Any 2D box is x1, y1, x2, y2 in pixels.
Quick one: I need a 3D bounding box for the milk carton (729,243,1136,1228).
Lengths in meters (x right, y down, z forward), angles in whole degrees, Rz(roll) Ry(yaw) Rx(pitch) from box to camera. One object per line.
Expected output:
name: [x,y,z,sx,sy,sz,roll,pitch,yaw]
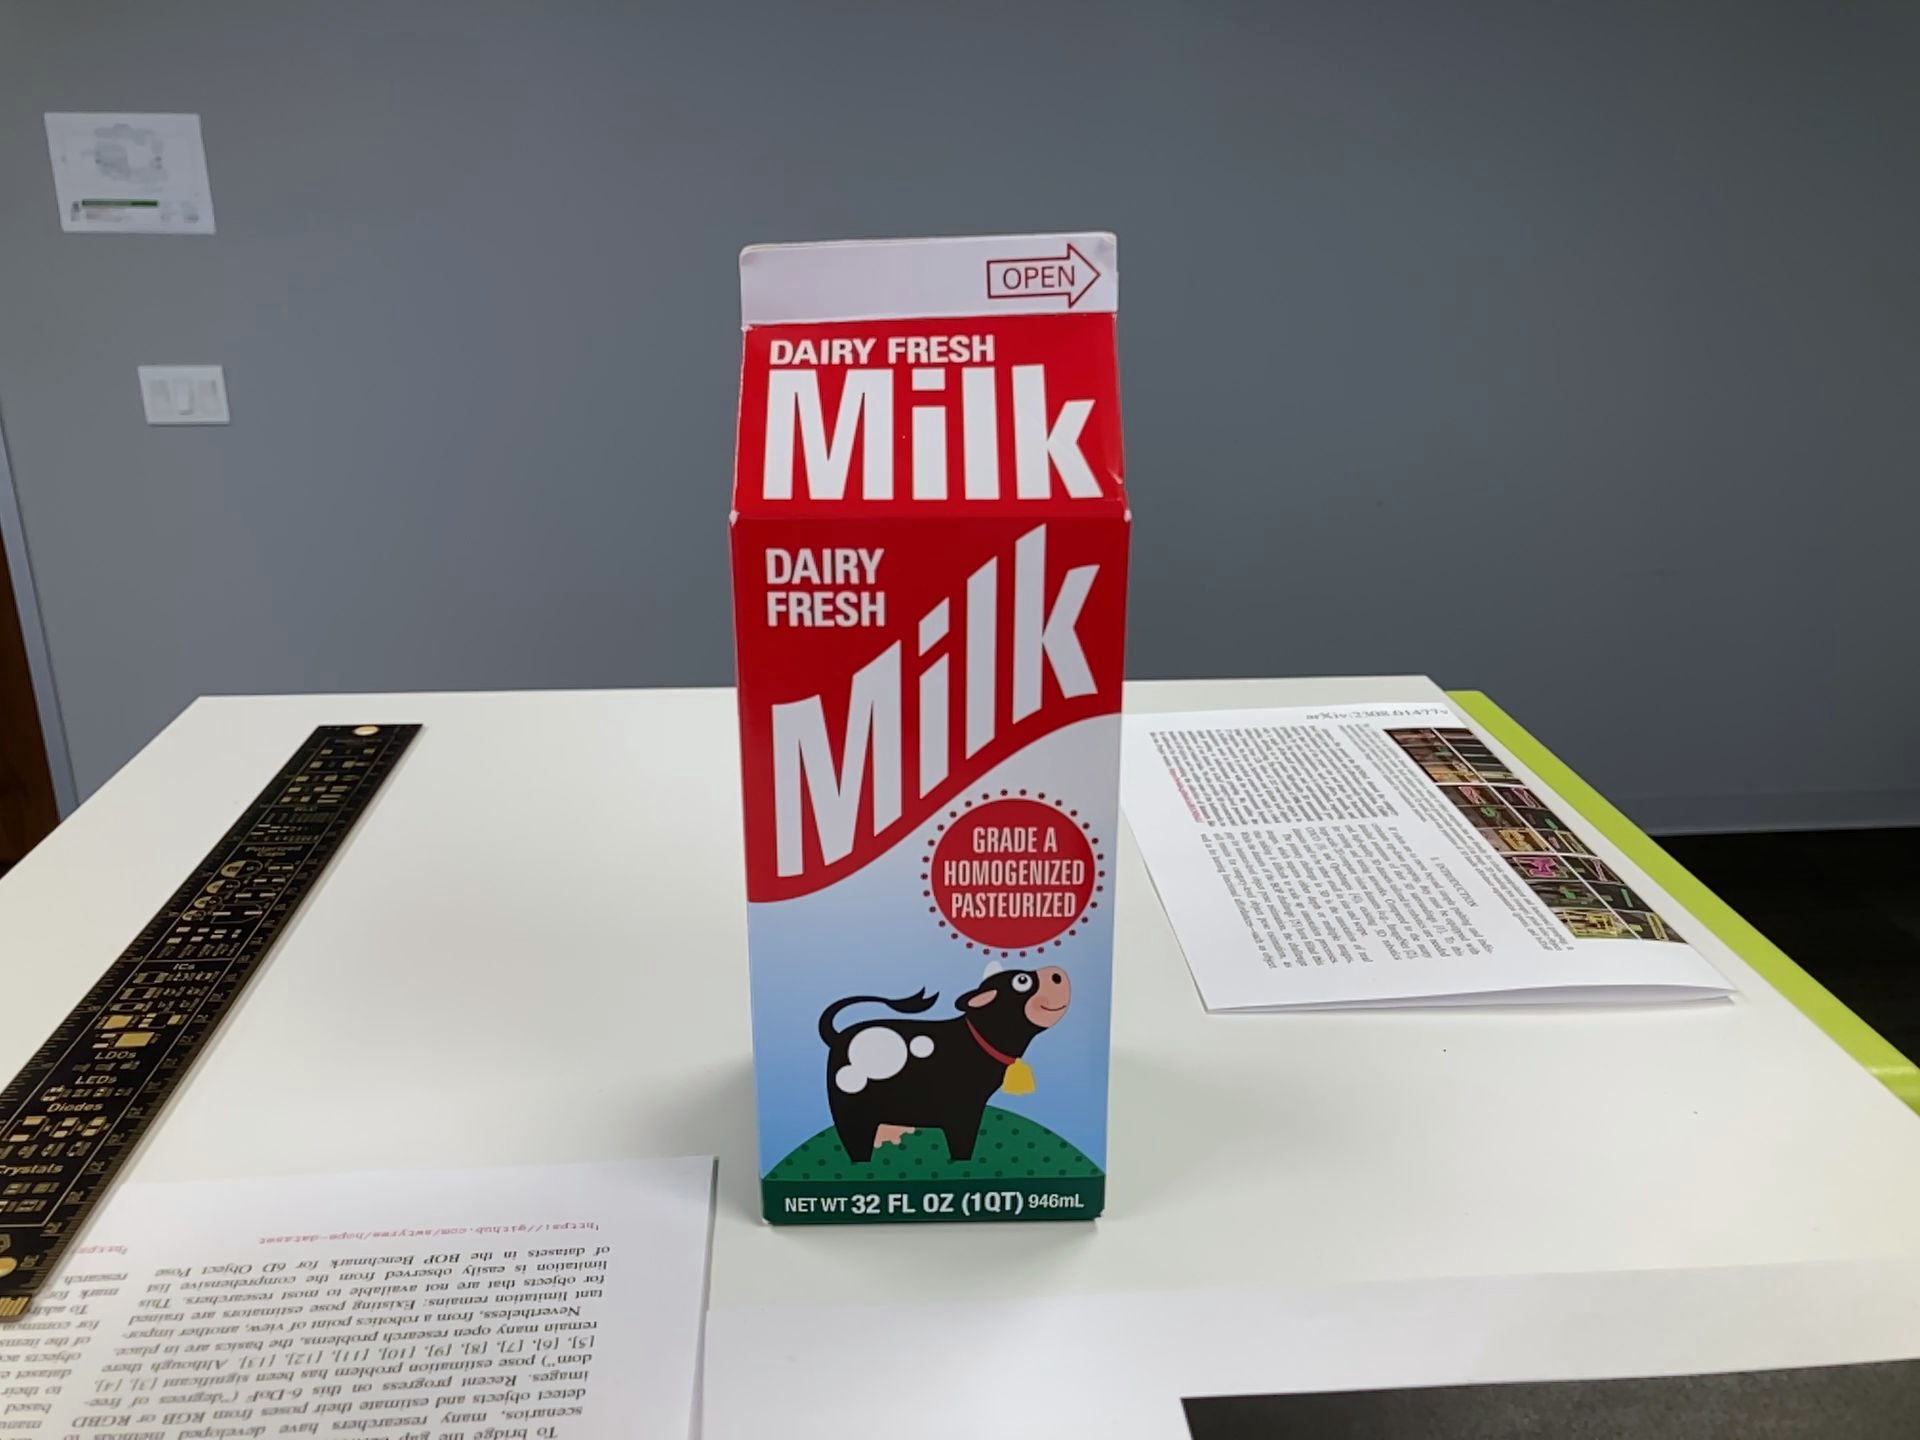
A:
milk carton: [-0.005,0.002,0.322,0.072,0.190,0.073,-1,20,-1]
